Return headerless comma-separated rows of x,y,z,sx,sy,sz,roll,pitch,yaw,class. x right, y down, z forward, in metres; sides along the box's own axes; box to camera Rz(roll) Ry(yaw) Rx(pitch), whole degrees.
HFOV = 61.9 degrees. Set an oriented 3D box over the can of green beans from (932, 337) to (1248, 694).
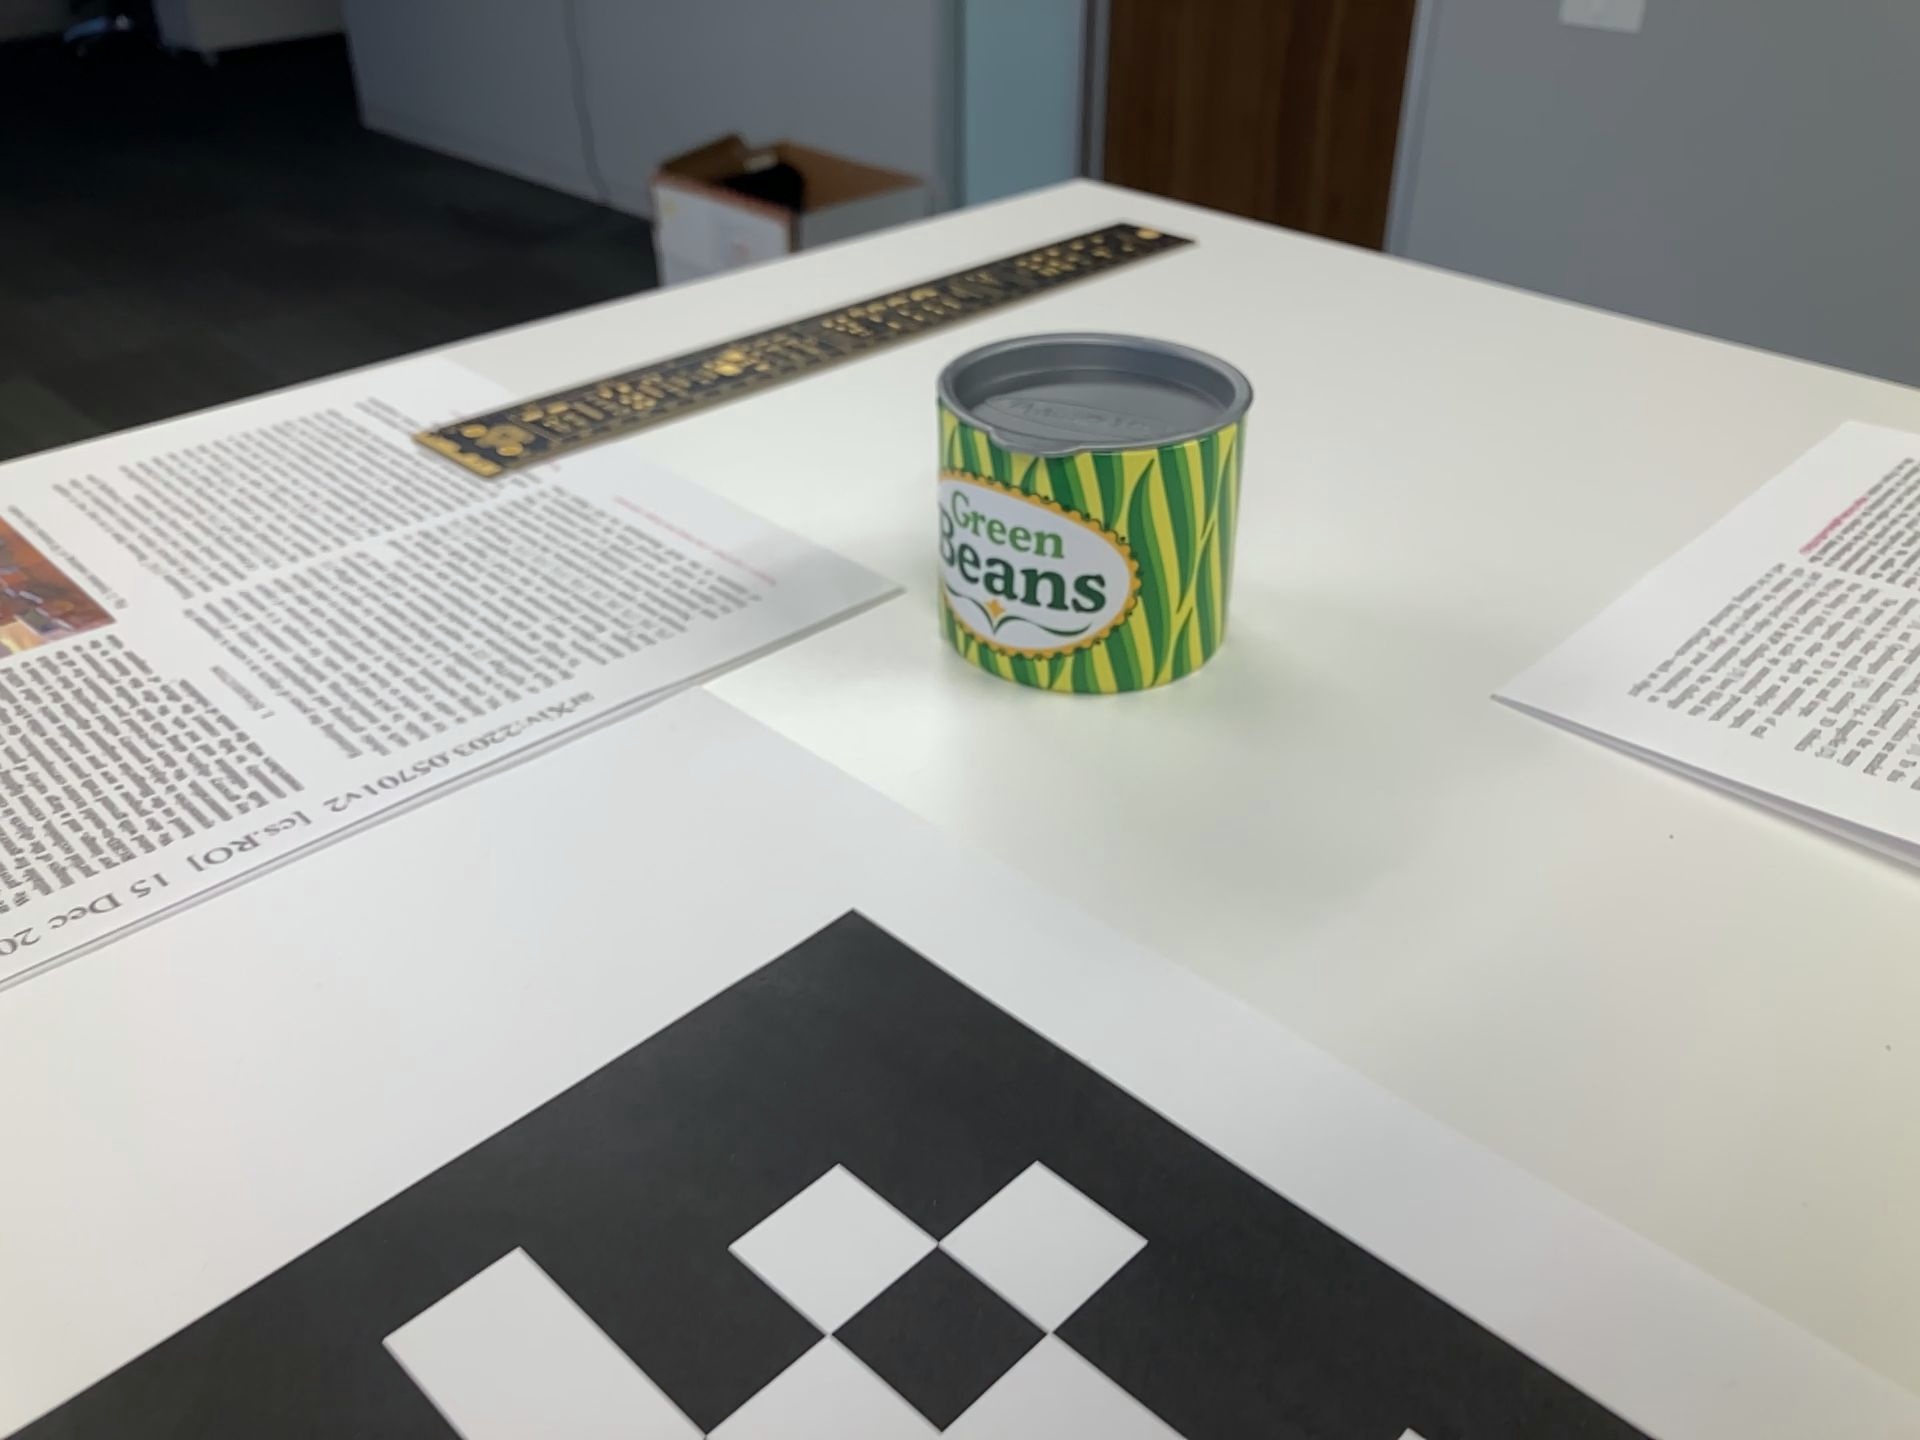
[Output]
0.027,-0.046,0.353,0.071,0.058,0.071,0,32,0,can of green beans
